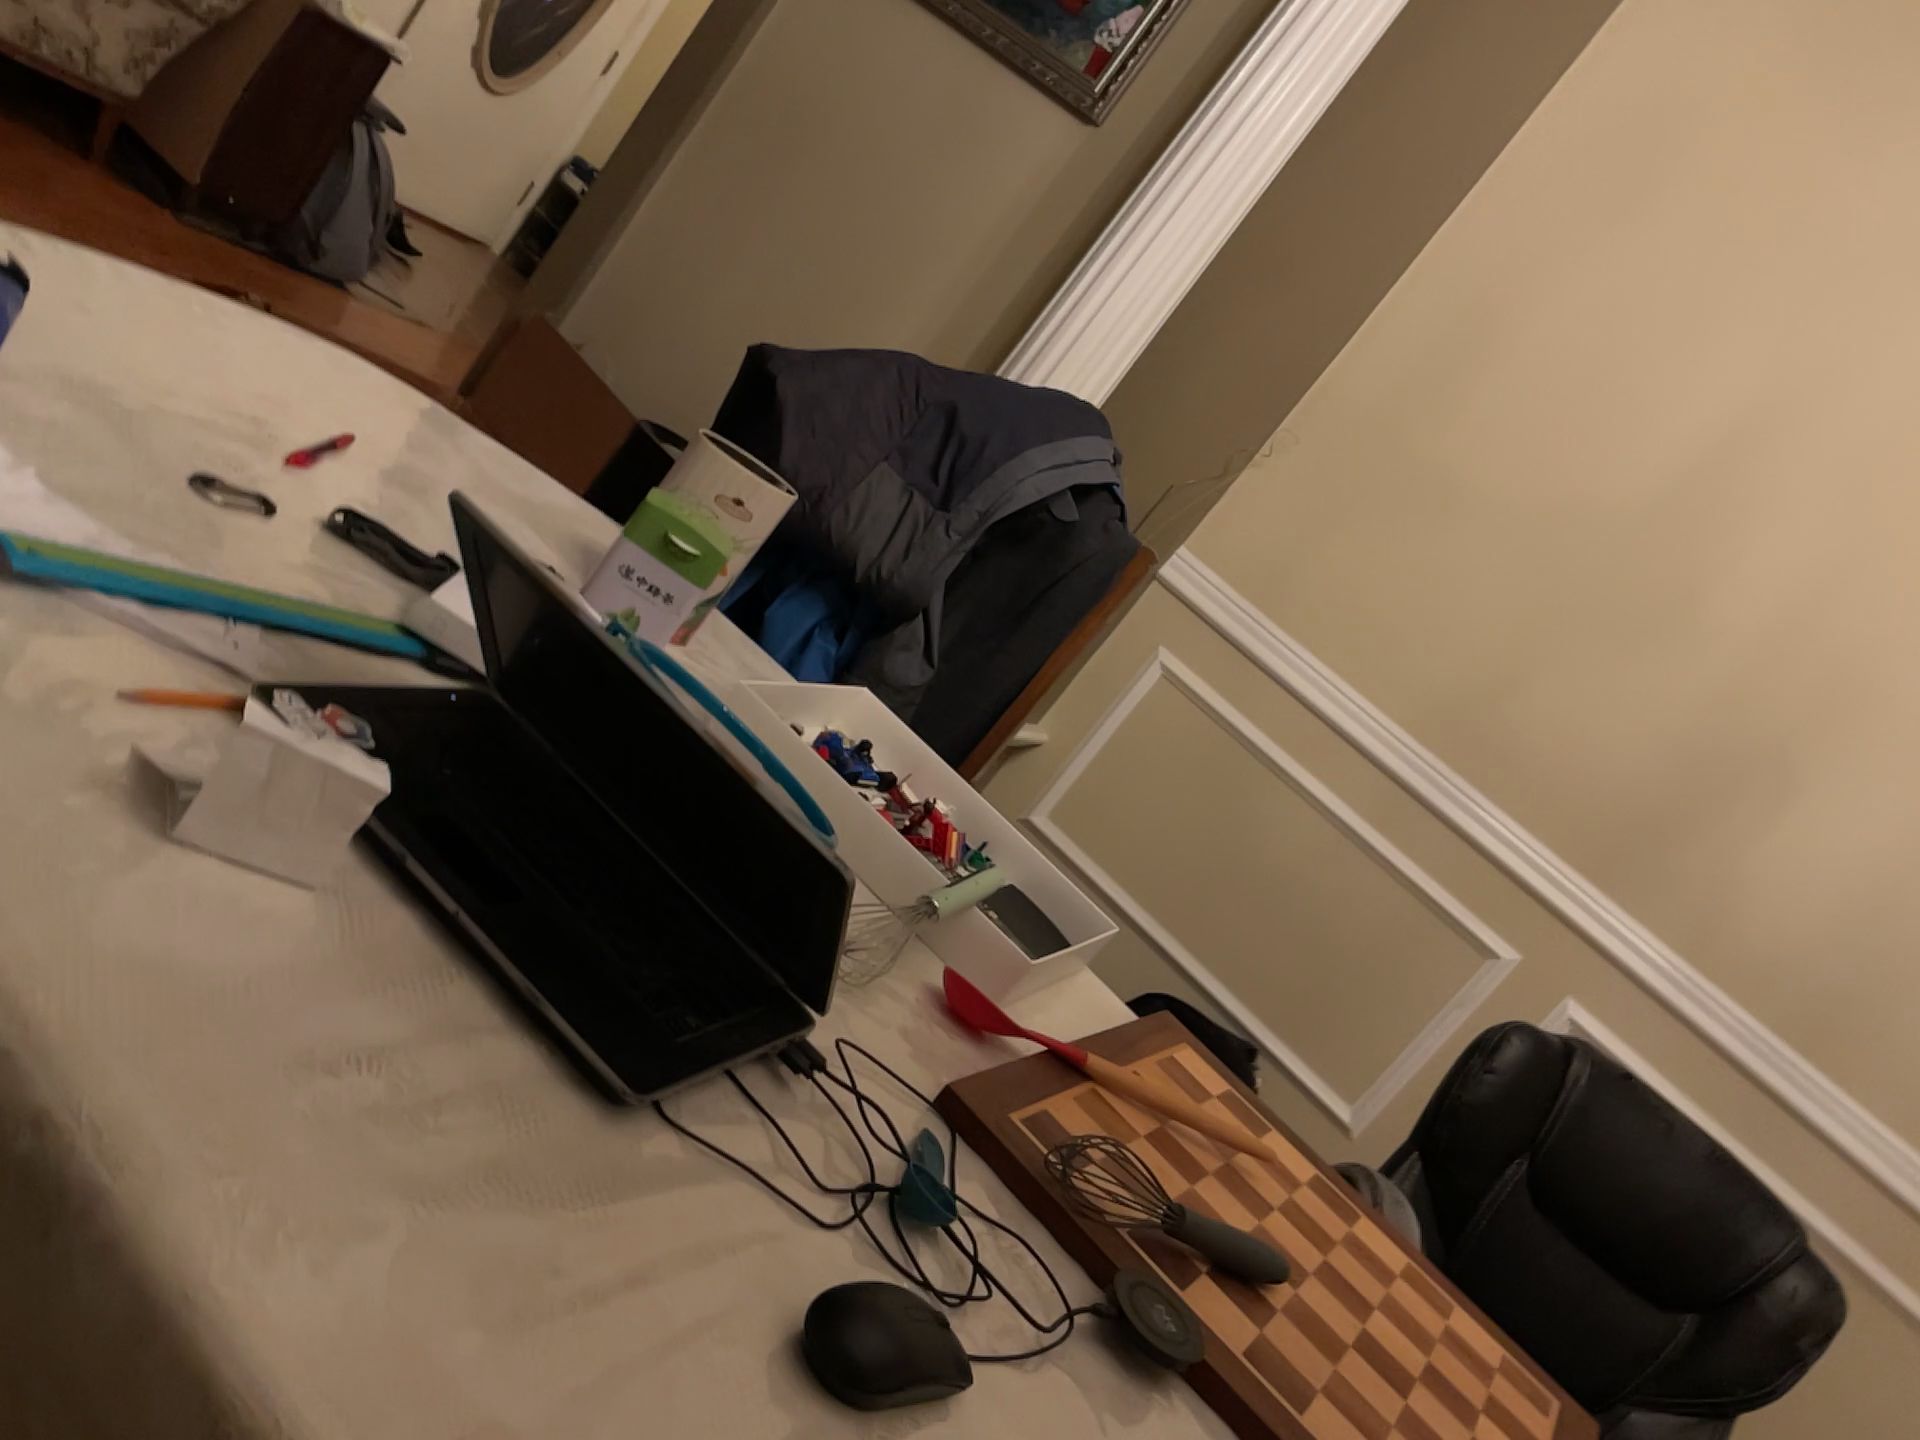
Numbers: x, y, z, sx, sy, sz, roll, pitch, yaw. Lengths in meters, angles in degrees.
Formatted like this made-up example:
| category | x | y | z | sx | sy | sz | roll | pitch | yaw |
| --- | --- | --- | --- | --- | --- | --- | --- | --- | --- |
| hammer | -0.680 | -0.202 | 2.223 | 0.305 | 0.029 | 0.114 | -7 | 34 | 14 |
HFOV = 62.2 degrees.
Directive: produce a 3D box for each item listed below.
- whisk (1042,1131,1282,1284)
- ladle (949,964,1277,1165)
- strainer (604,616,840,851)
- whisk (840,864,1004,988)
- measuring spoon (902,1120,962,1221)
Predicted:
| category | x | y | z | sx | sy | sz | roll | pitch | yaw |
| --- | --- | --- | --- | --- | --- | --- | --- | --- | --- |
| whisk | 0.142 | 0.337 | 1.075 | 0.238 | 0.055 | 0.055 | 36 | 26 | -30 |
| ladle | 0.120 | 0.277 | 1.245 | 0.315 | 0.031 | 0.069 | 30 | -8 | -13 |
| strainer | -0.166 | 0.070 | 1.074 | 0.210 | 0.095 | 0.341 | 46 | 2 | -33 |
| whisk | -0.032 | 0.147 | 1.214 | 0.246 | 0.058 | 0.059 | -18 | 86 | -58 |
| measuring spoon | -0.023 | 0.273 | 0.968 | 0.042 | 0.021 | 0.128 | 45 | 0 | -5 |
